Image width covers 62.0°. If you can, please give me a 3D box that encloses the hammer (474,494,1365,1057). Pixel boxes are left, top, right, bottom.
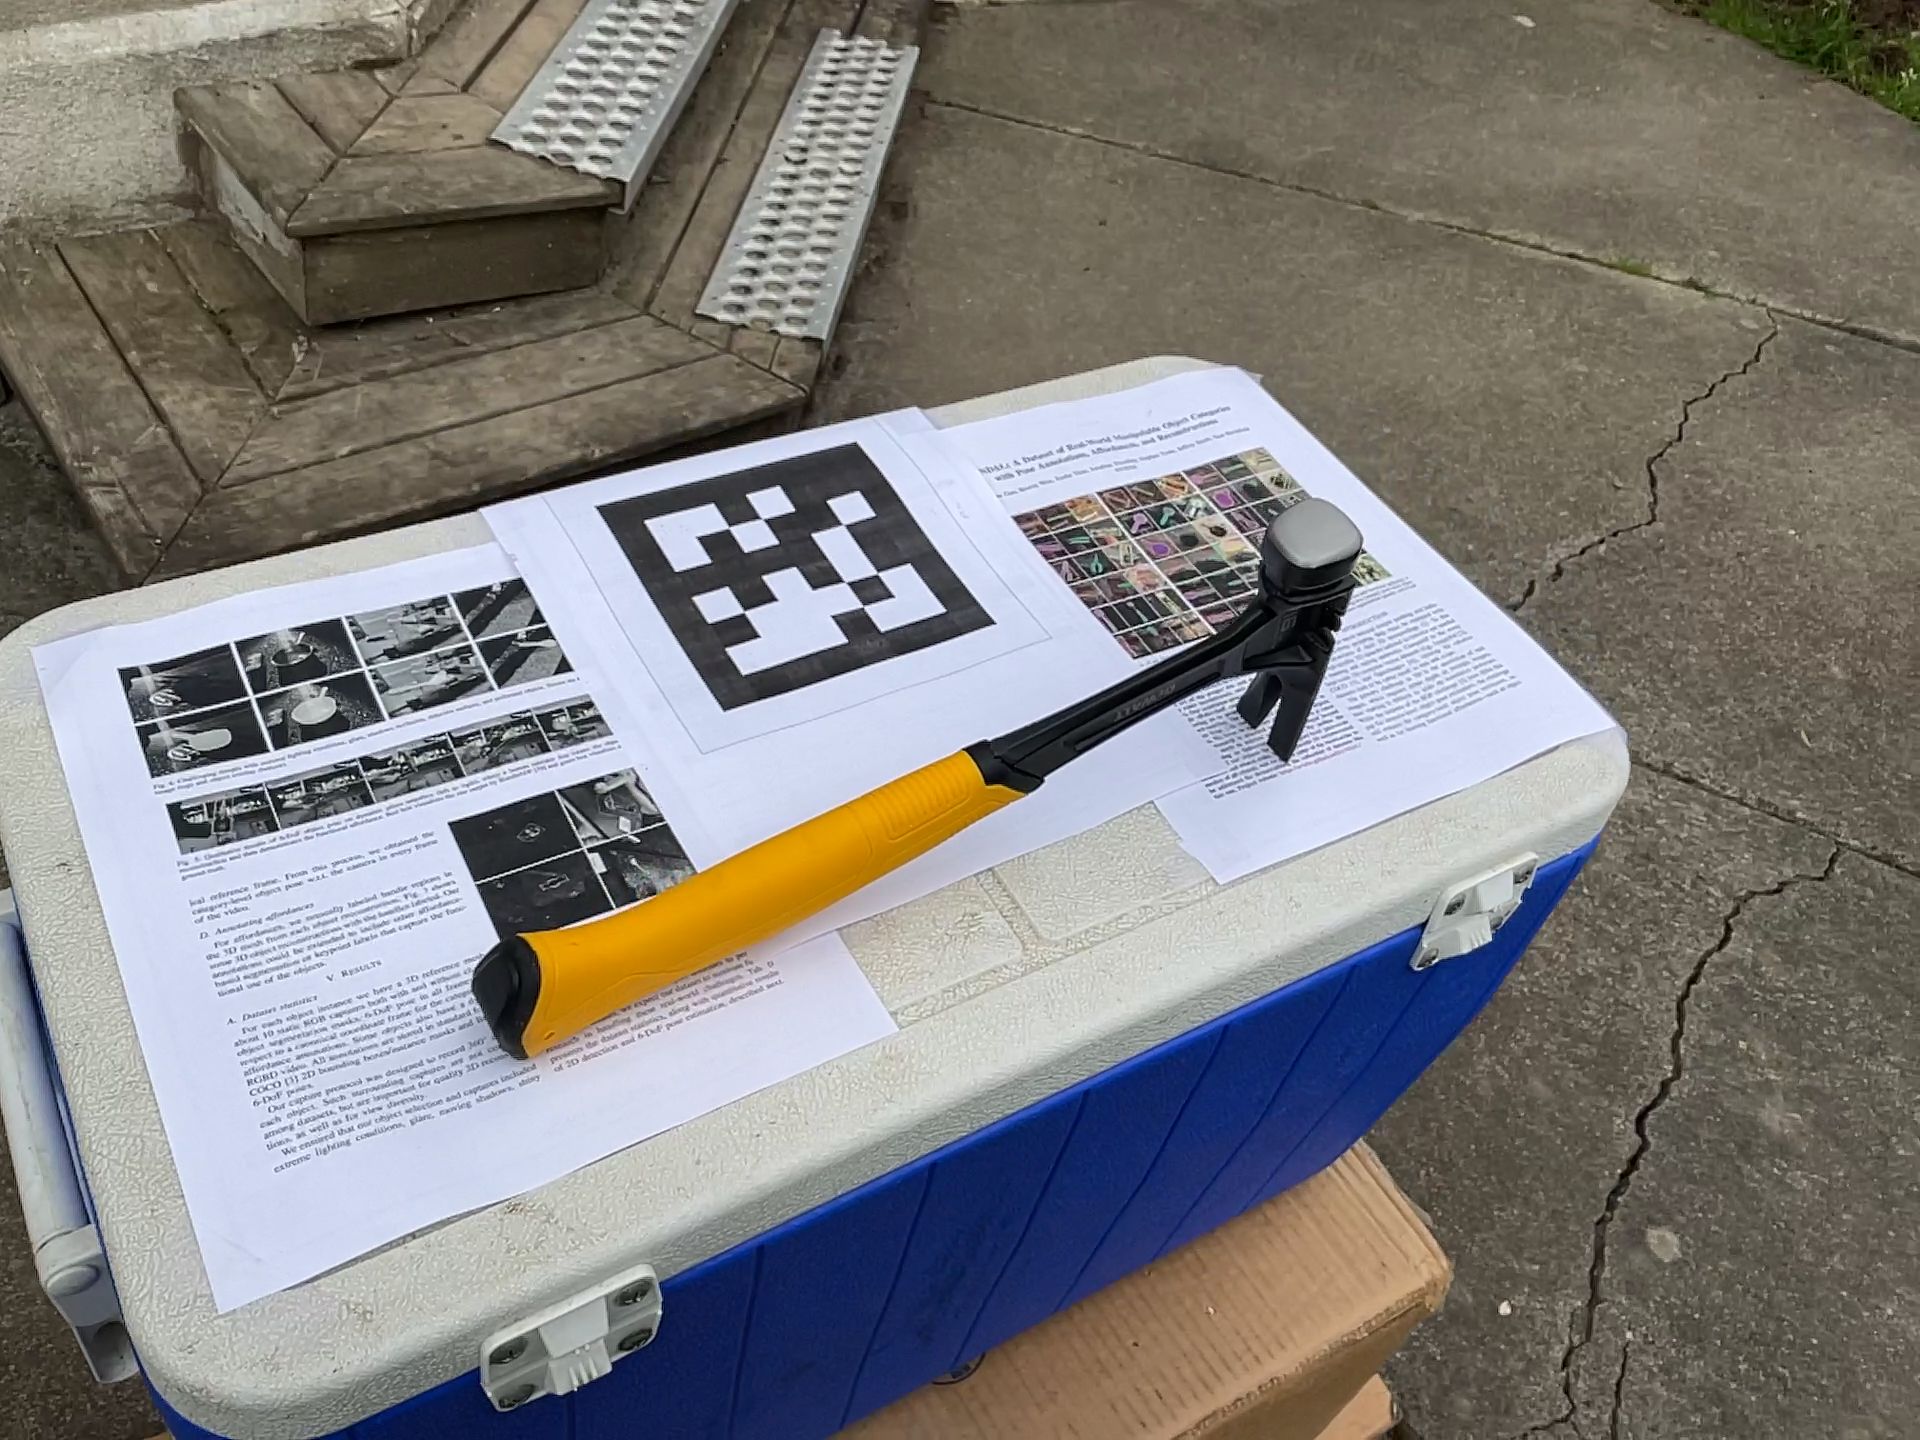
[{"bbox_3d":[-0.005,0.030,0.564,0.337,0.127,0.034,-25,57,-19],"label":"hammer"}]
